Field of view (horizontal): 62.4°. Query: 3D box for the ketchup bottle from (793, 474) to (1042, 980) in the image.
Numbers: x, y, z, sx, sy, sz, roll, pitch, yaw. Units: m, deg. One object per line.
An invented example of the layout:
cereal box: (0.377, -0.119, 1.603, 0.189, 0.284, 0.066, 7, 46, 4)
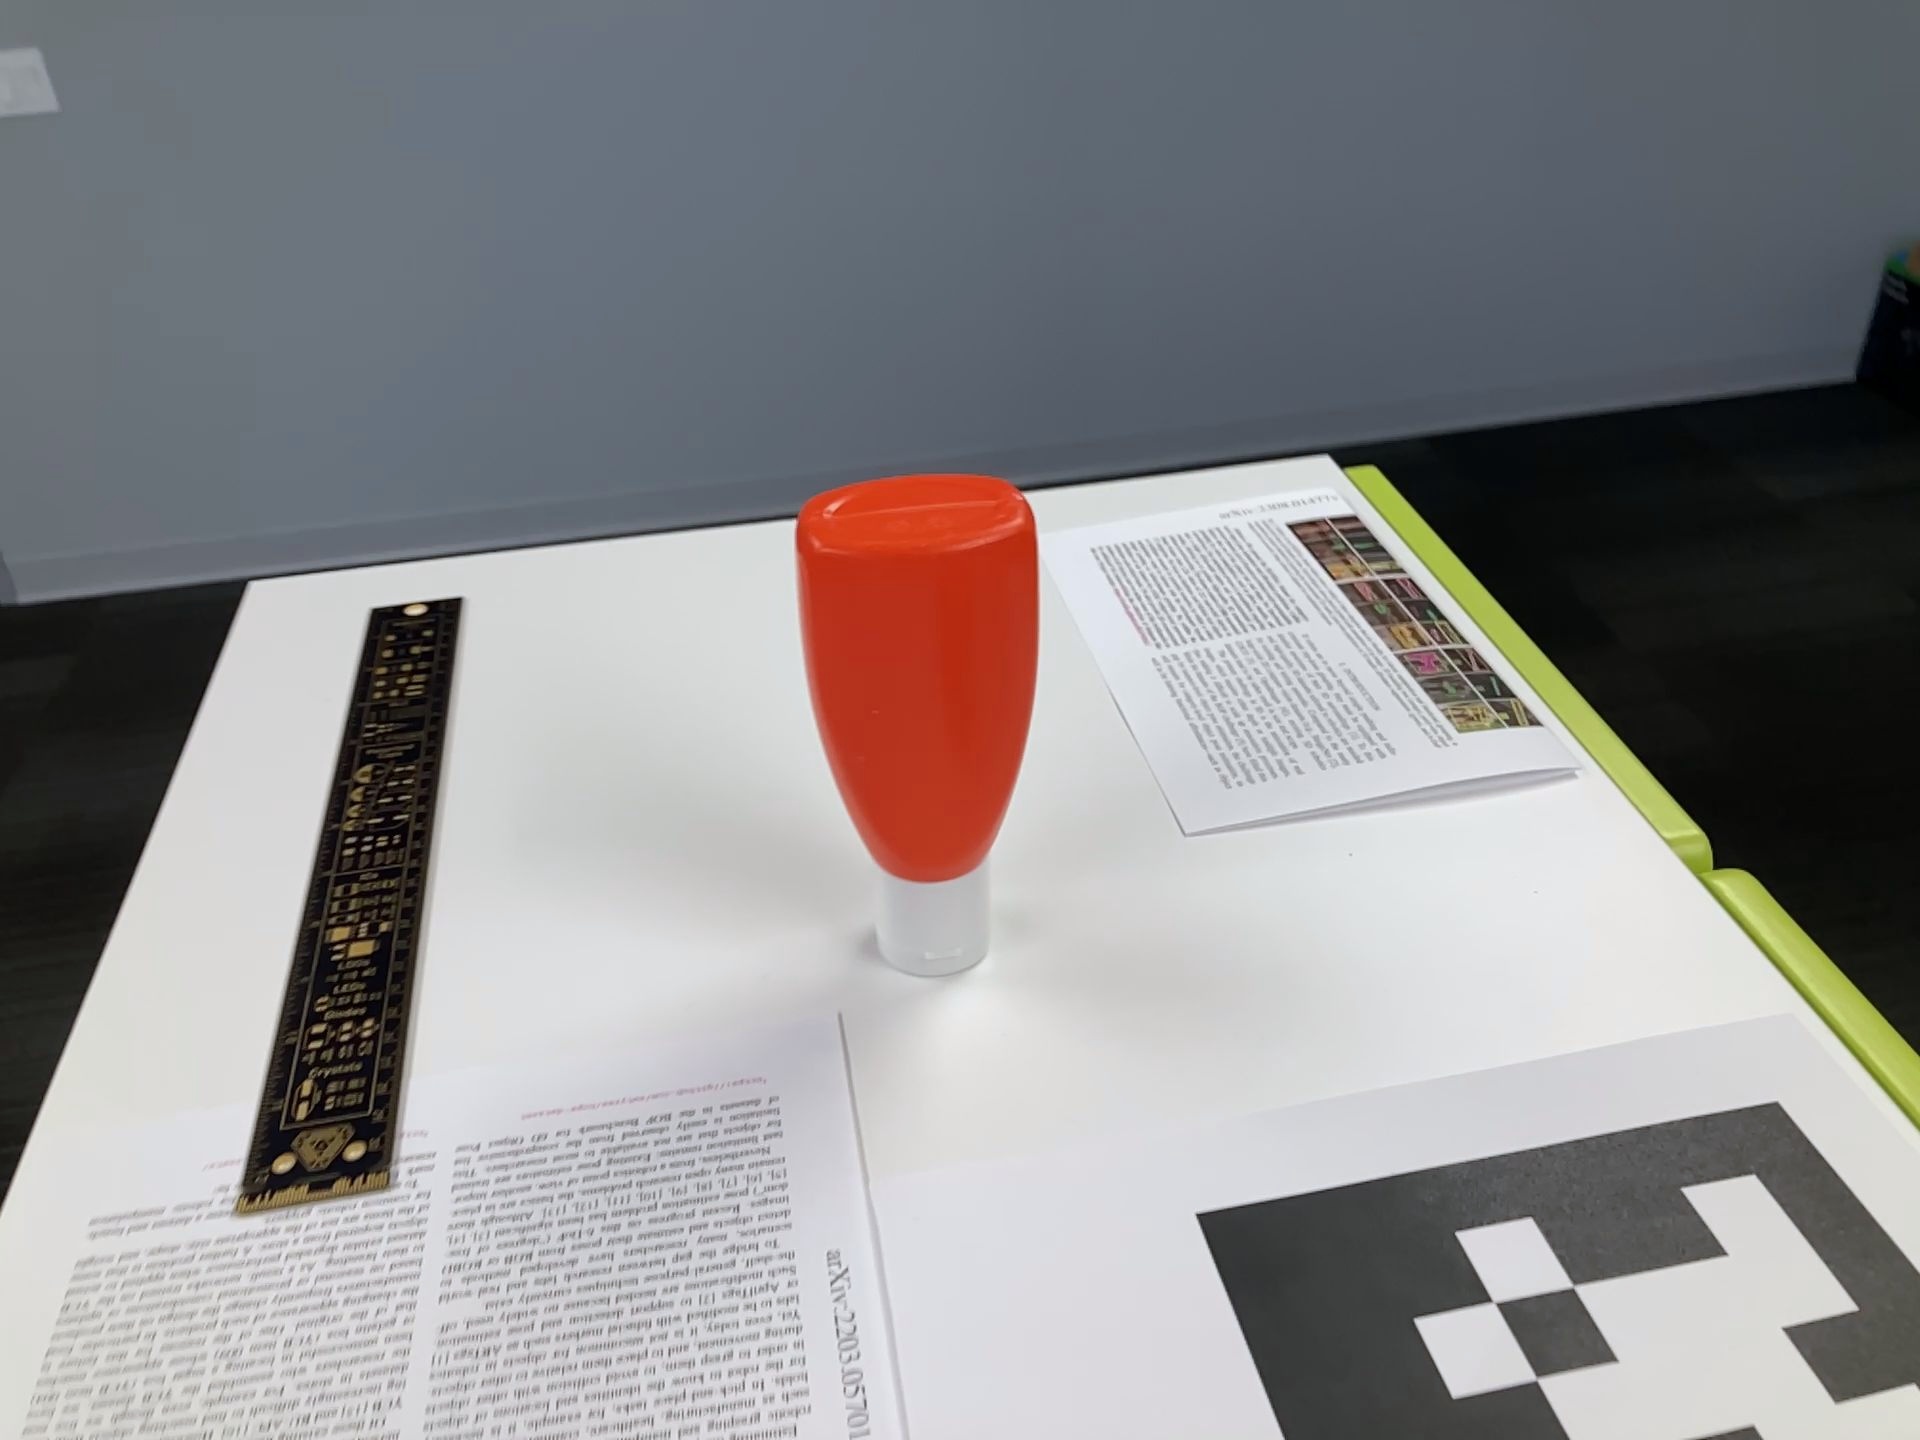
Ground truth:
ketchup bottle: (-0.010, 0.007, 0.444, 0.065, 0.149, 0.043, -7, 34, -7)
